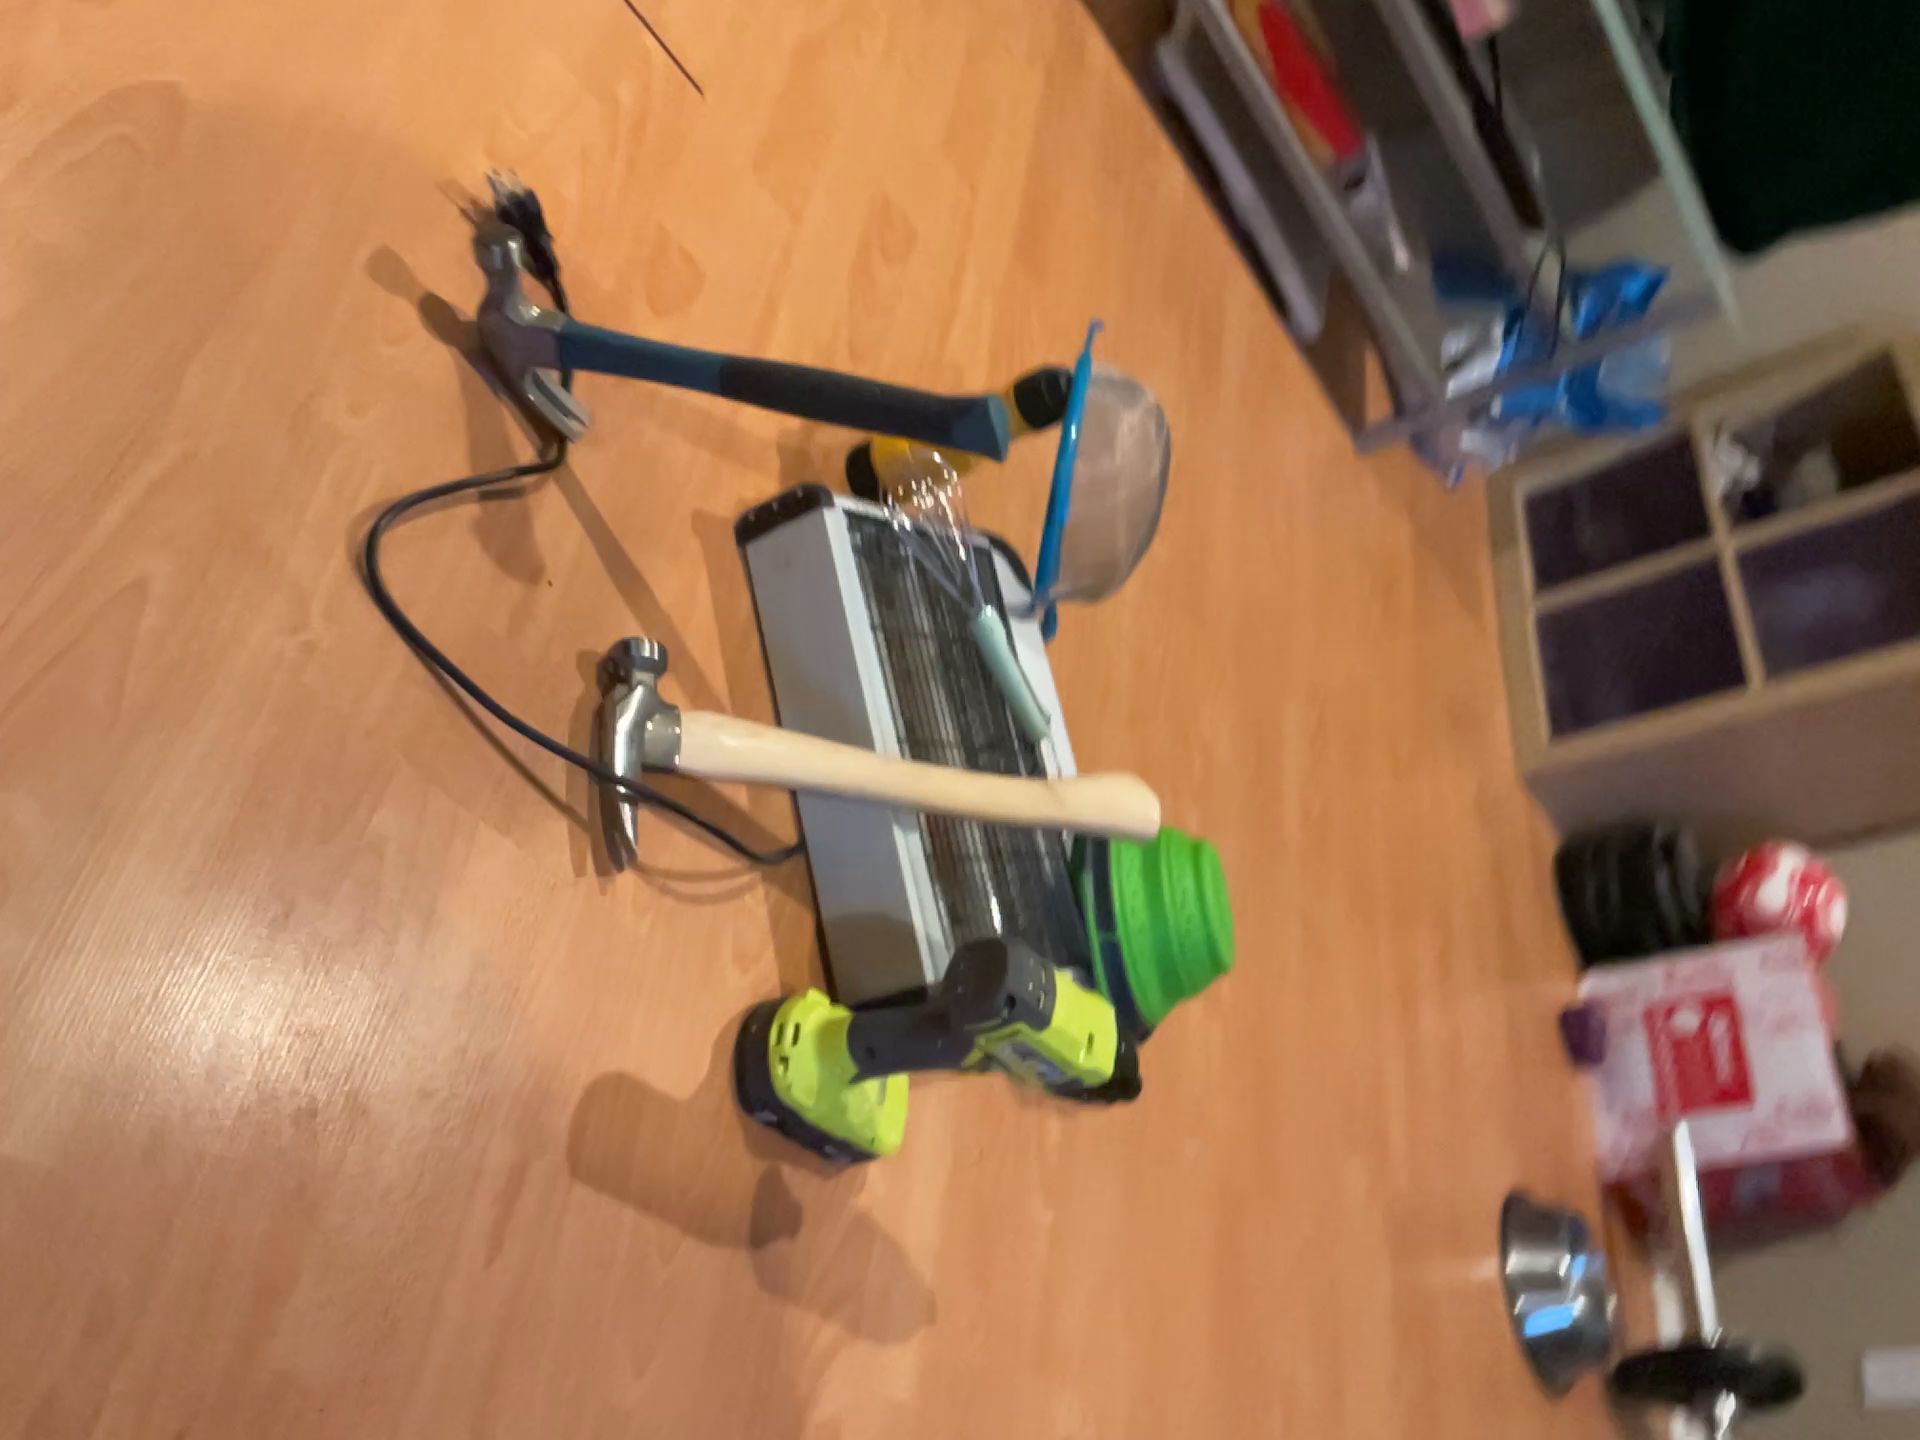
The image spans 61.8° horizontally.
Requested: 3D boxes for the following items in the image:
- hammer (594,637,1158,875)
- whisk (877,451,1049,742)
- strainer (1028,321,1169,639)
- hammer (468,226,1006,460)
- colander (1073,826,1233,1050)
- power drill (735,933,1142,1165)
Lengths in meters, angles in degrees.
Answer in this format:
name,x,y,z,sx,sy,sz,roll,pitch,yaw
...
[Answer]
name,x,y,z,sx,sy,sz,roll,pitch,yaw
hammer,-0.040,0.051,1.065,0.411,0.038,0.146,11,61,-29
whisk,0.009,-0.089,1.205,0.246,0.059,0.058,63,2,-19
strainer,0.120,-0.156,1.354,0.340,0.095,0.211,88,13,-62
hammer,-0.134,-0.209,0.977,0.128,0.331,0.033,97,6,-45
colander,0.184,0.154,1.365,0.397,0.094,0.204,-5,84,-75
power drill,-0.011,0.210,0.989,0.171,0.223,0.080,42,41,-39
